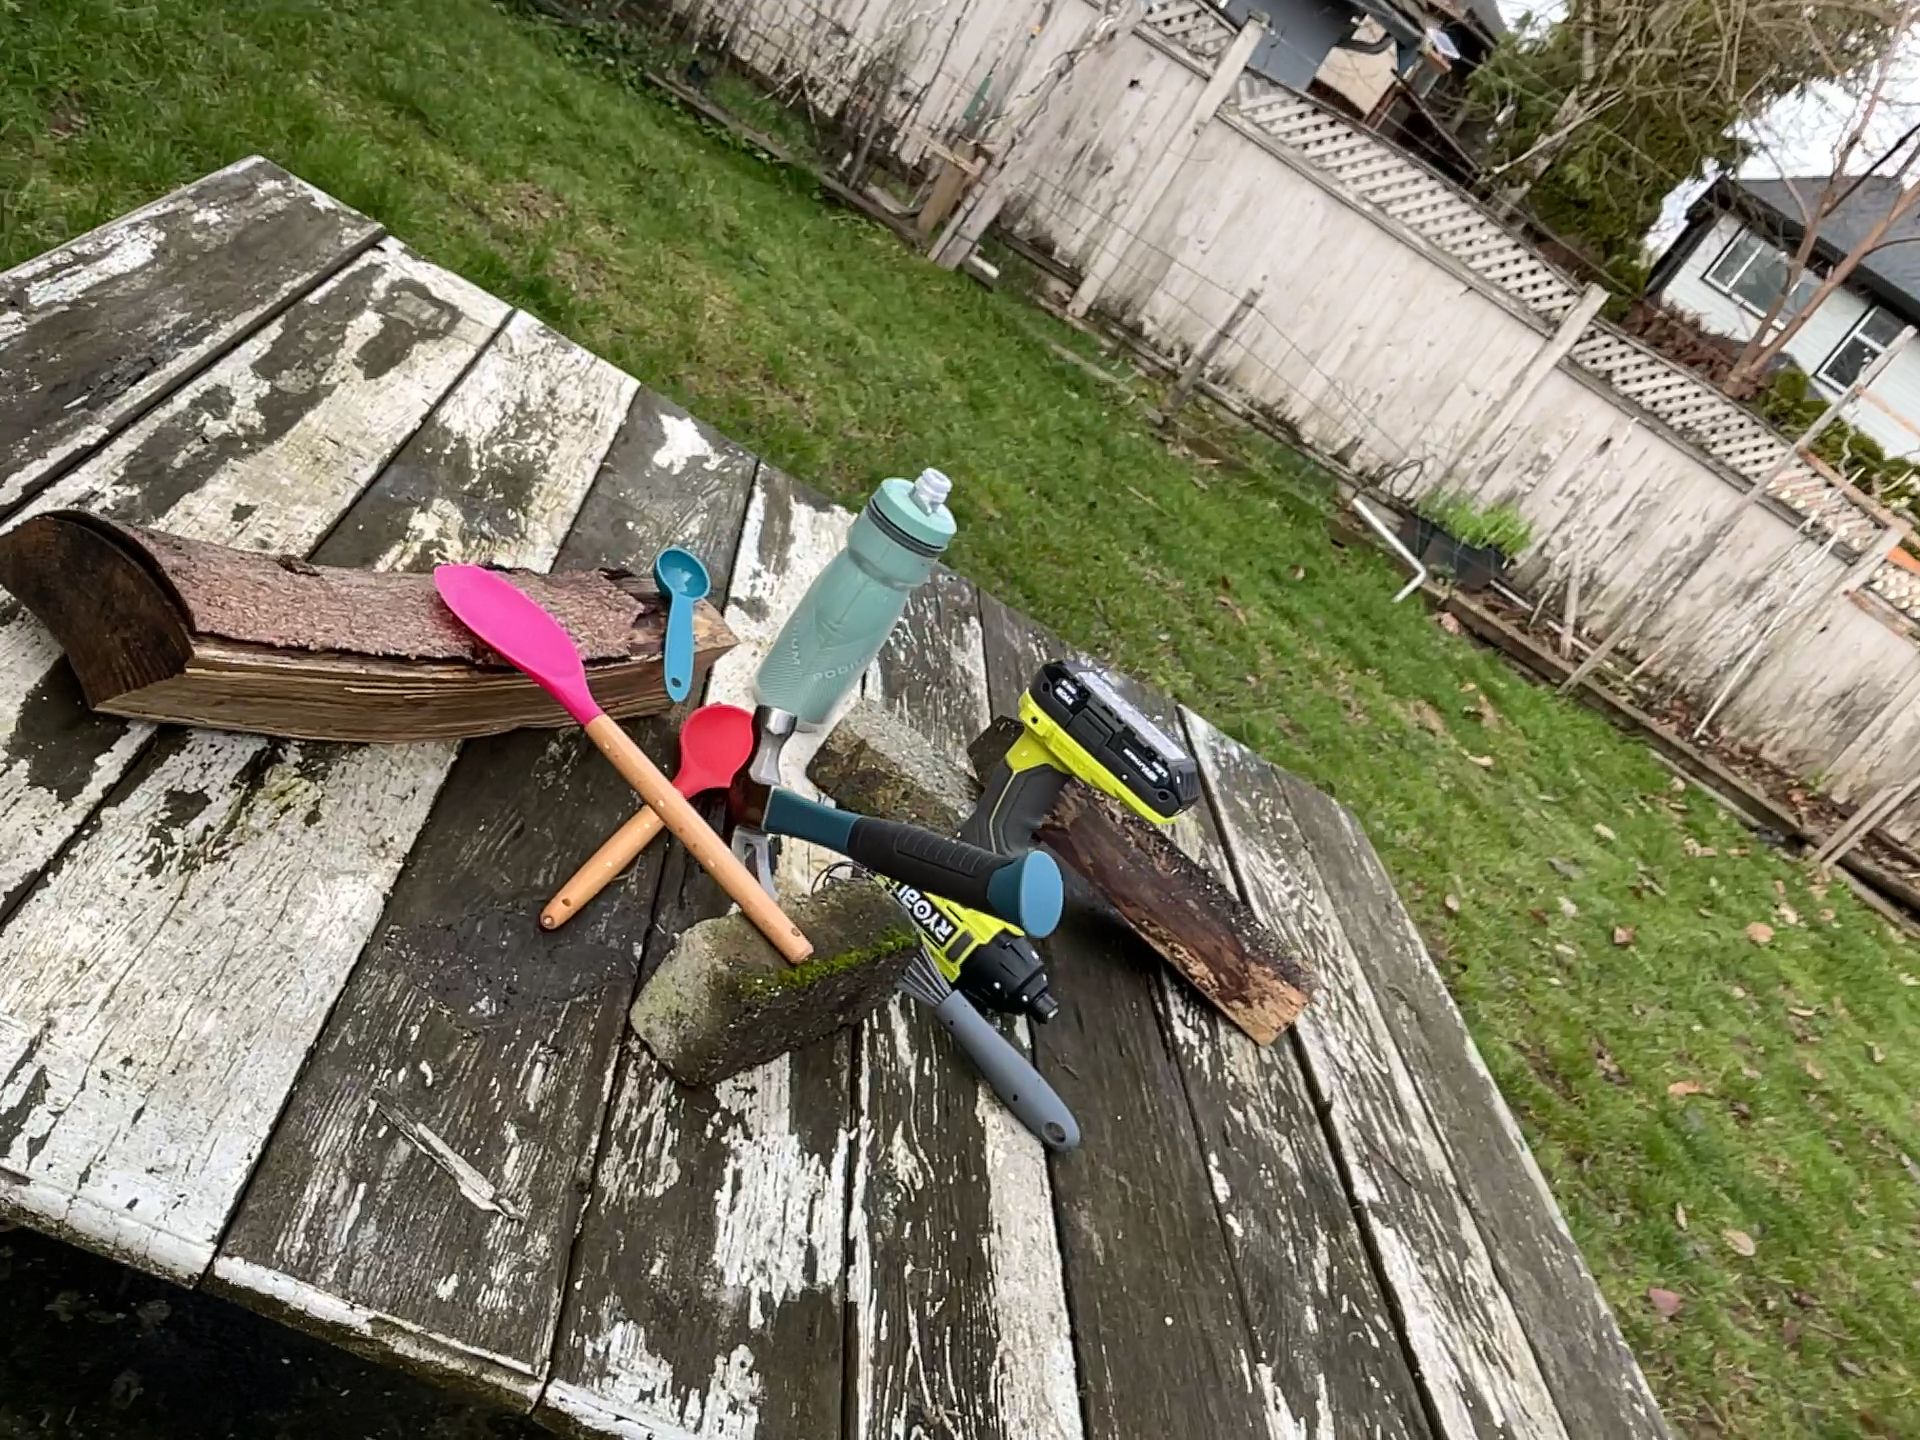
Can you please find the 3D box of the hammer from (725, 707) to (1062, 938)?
[{"bbox_3d":[-0.052,0.073,0.961,0.033,0.128,0.331,16,-3,-37],"label":"hammer"}]

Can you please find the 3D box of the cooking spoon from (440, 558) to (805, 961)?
[{"bbox_3d":[-0.195,0.017,0.915,0.319,0.017,0.068,47,23,14],"label":"cooking spoon"}]

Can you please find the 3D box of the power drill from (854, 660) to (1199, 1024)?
[{"bbox_3d":[0.053,0.085,1.096,0.171,0.223,0.080,43,15,14],"label":"power drill"}]

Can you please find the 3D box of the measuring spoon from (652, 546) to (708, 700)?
[{"bbox_3d":[-0.195,-0.063,1.087,0.042,0.021,0.129,21,48,-34],"label":"measuring spoon"}]

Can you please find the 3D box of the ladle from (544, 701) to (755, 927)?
[{"bbox_3d":[-0.196,0.059,1.046,0.069,0.031,0.315,38,24,-2],"label":"ladle"}]

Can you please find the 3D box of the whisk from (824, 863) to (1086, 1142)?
[{"bbox_3d":[-0.005,0.182,1.034,0.239,0.055,0.055,44,31,12],"label":"whisk"}]
